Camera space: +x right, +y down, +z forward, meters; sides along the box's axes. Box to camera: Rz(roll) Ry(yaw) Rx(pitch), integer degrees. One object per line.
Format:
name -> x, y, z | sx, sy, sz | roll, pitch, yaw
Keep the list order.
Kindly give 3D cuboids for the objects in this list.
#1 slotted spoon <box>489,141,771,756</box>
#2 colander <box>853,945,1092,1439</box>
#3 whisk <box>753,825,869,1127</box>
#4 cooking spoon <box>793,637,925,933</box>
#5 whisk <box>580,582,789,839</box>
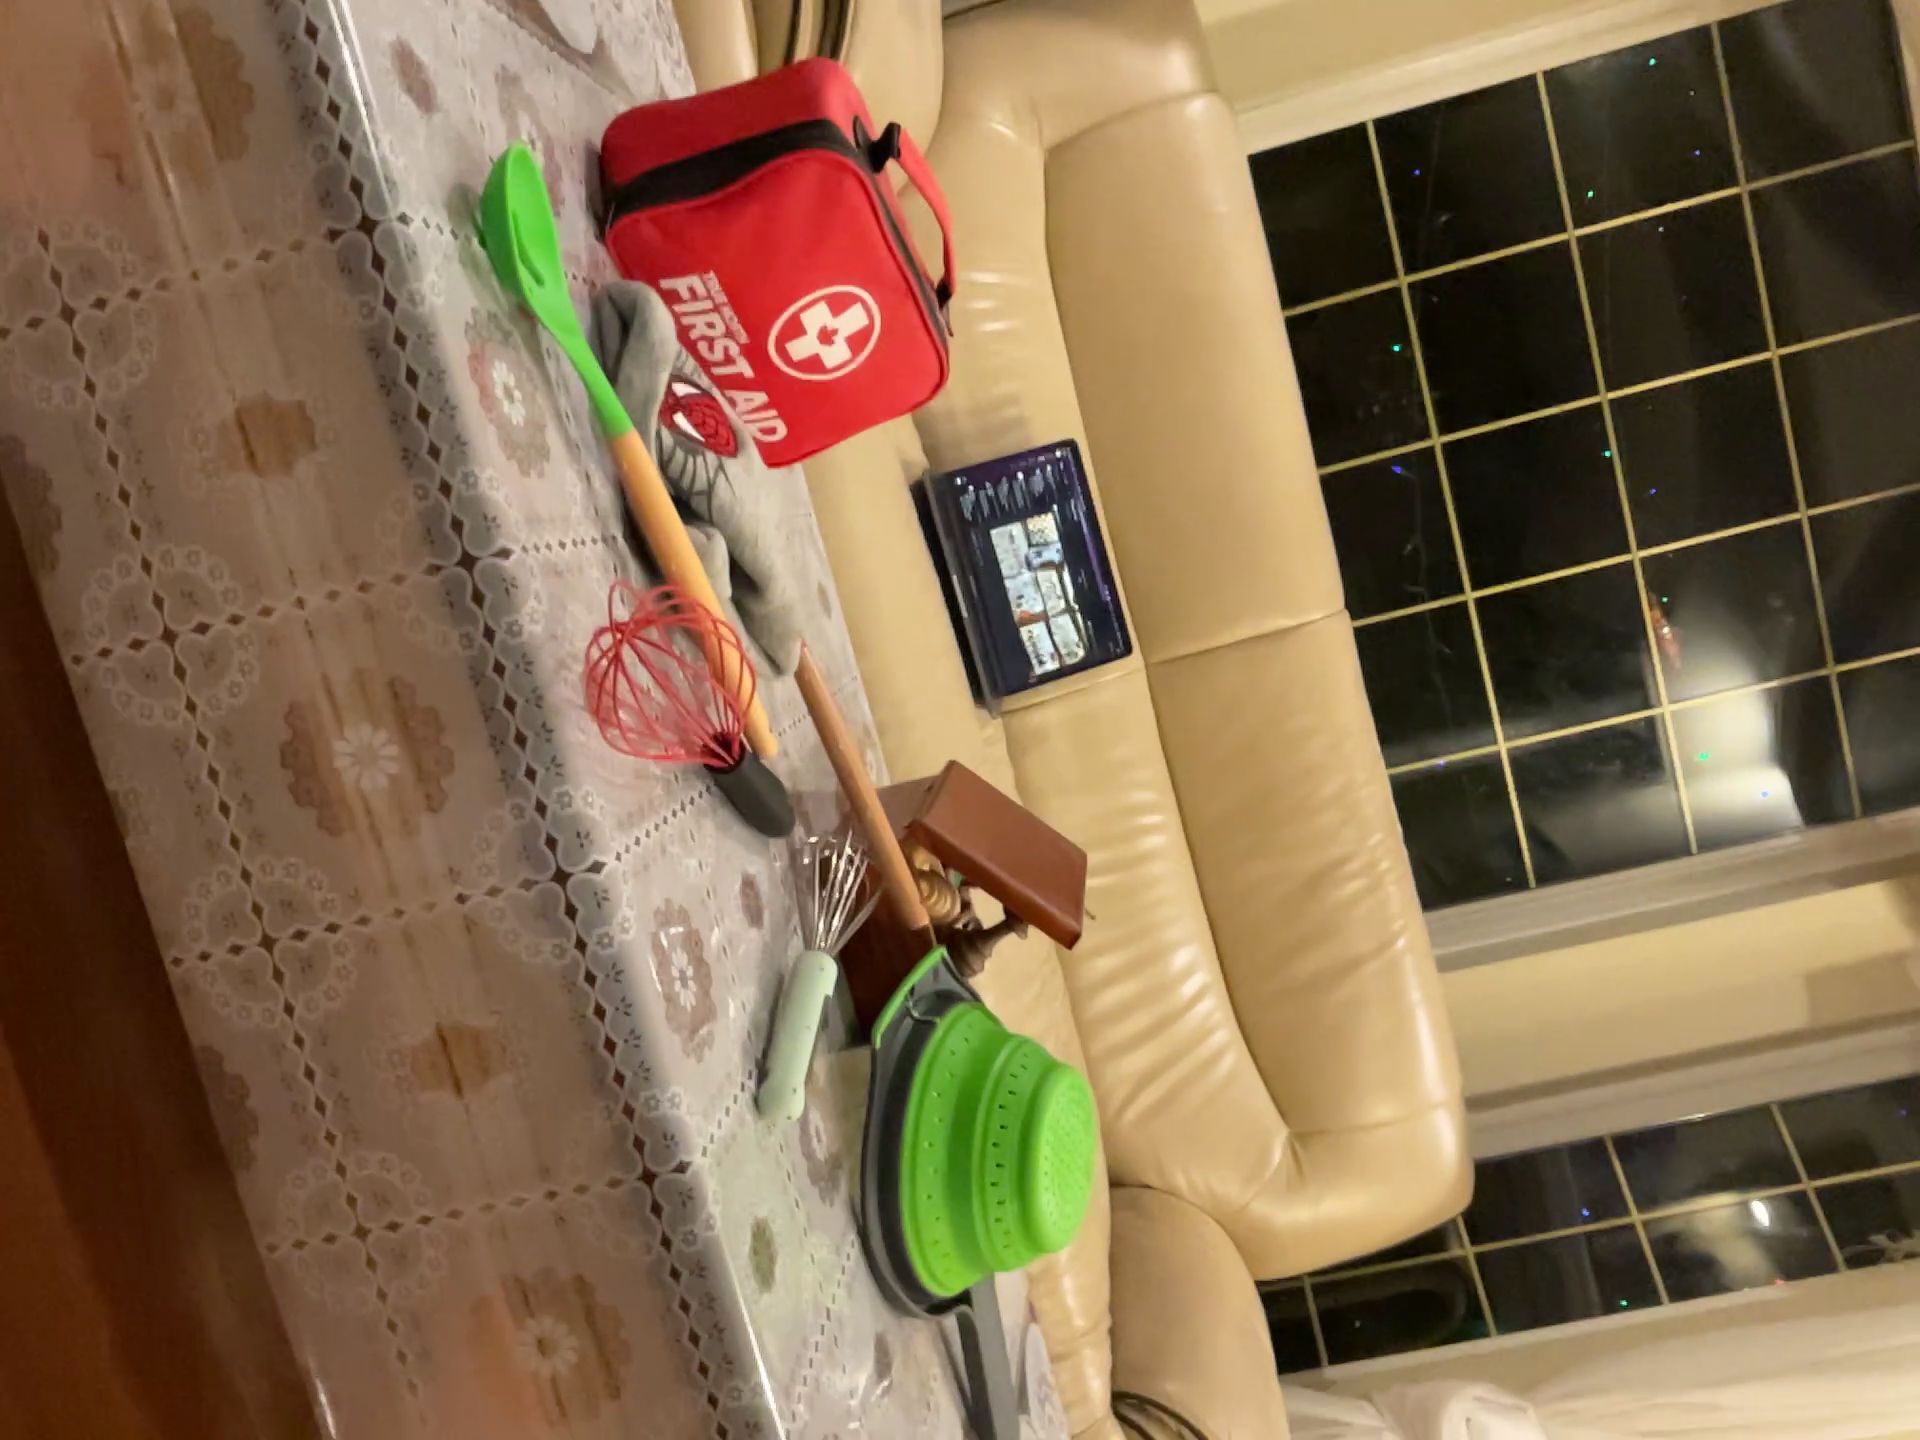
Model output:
slotted spoon -> -0.154, -0.115, 0.762 | 0.070, 0.031, 0.313 | -89, 161, -63
colander -> 0.034, 0.337, 0.995 | 0.204, 0.094, 0.396 | -44, 129, -58
whisk -> -0.085, 0.134, 0.876 | 0.057, 0.059, 0.247 | 30, 26, -13
cooking spoon -> -0.090, -0.020, 0.965 | 0.319, 0.017, 0.068 | 66, 8, 6
whisk -> -0.120, 0.009, 0.777 | 0.295, 0.073, 0.073 | 74, -1, -70
